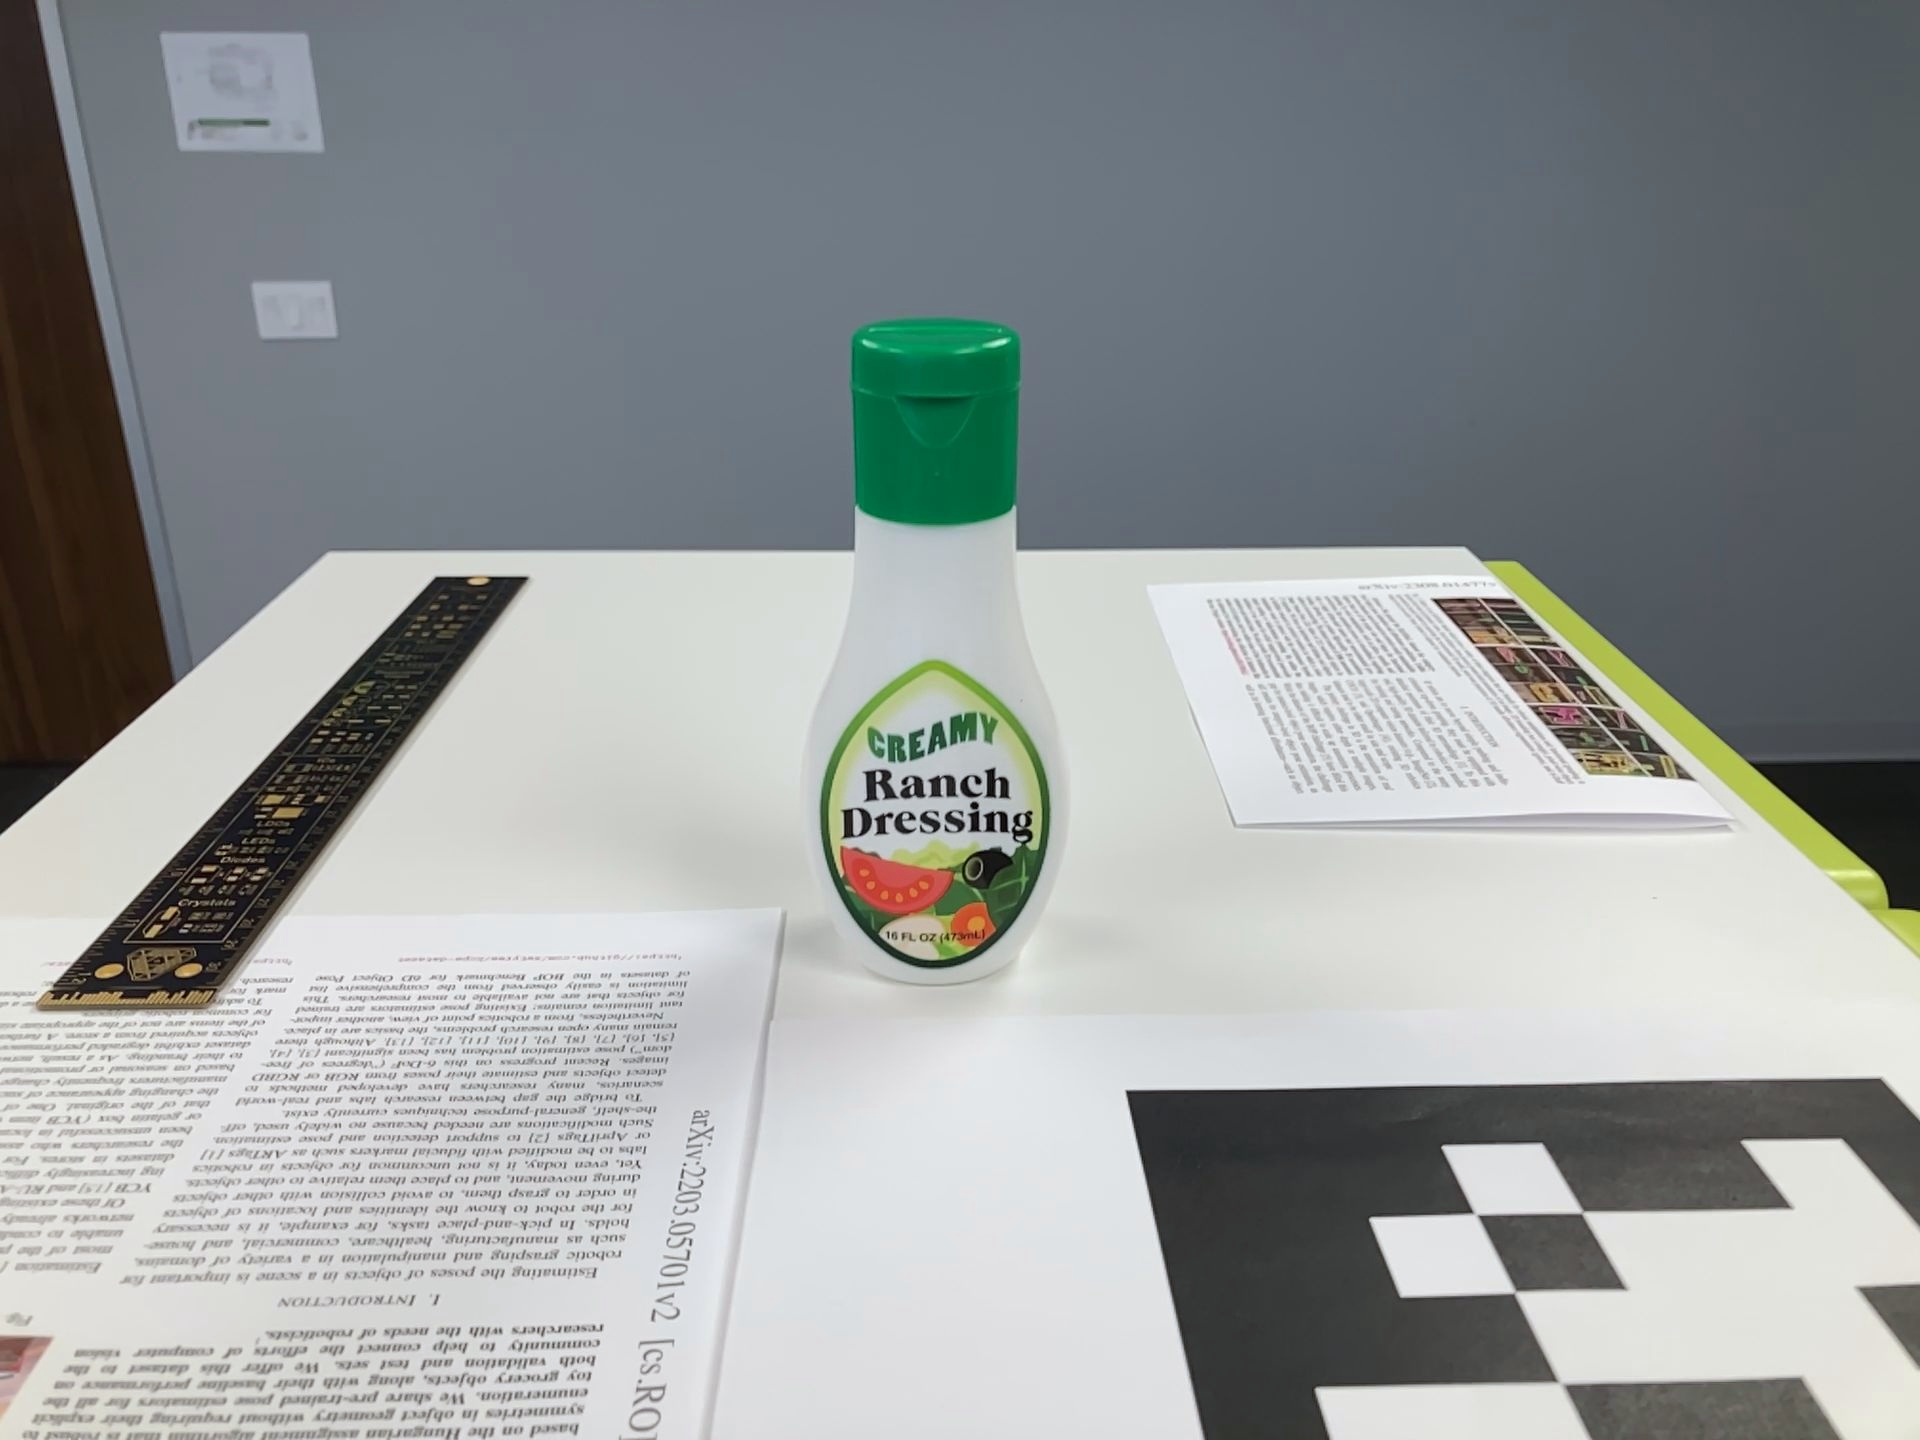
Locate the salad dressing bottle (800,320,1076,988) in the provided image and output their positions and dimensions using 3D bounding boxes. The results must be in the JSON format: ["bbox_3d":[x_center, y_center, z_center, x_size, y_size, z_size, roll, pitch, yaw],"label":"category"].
[{"bbox_3d":[-0.005,-0.013,0.359,0.064,0.147,0.044,0,22,-1],"label":"salad dressing bottle"}]
